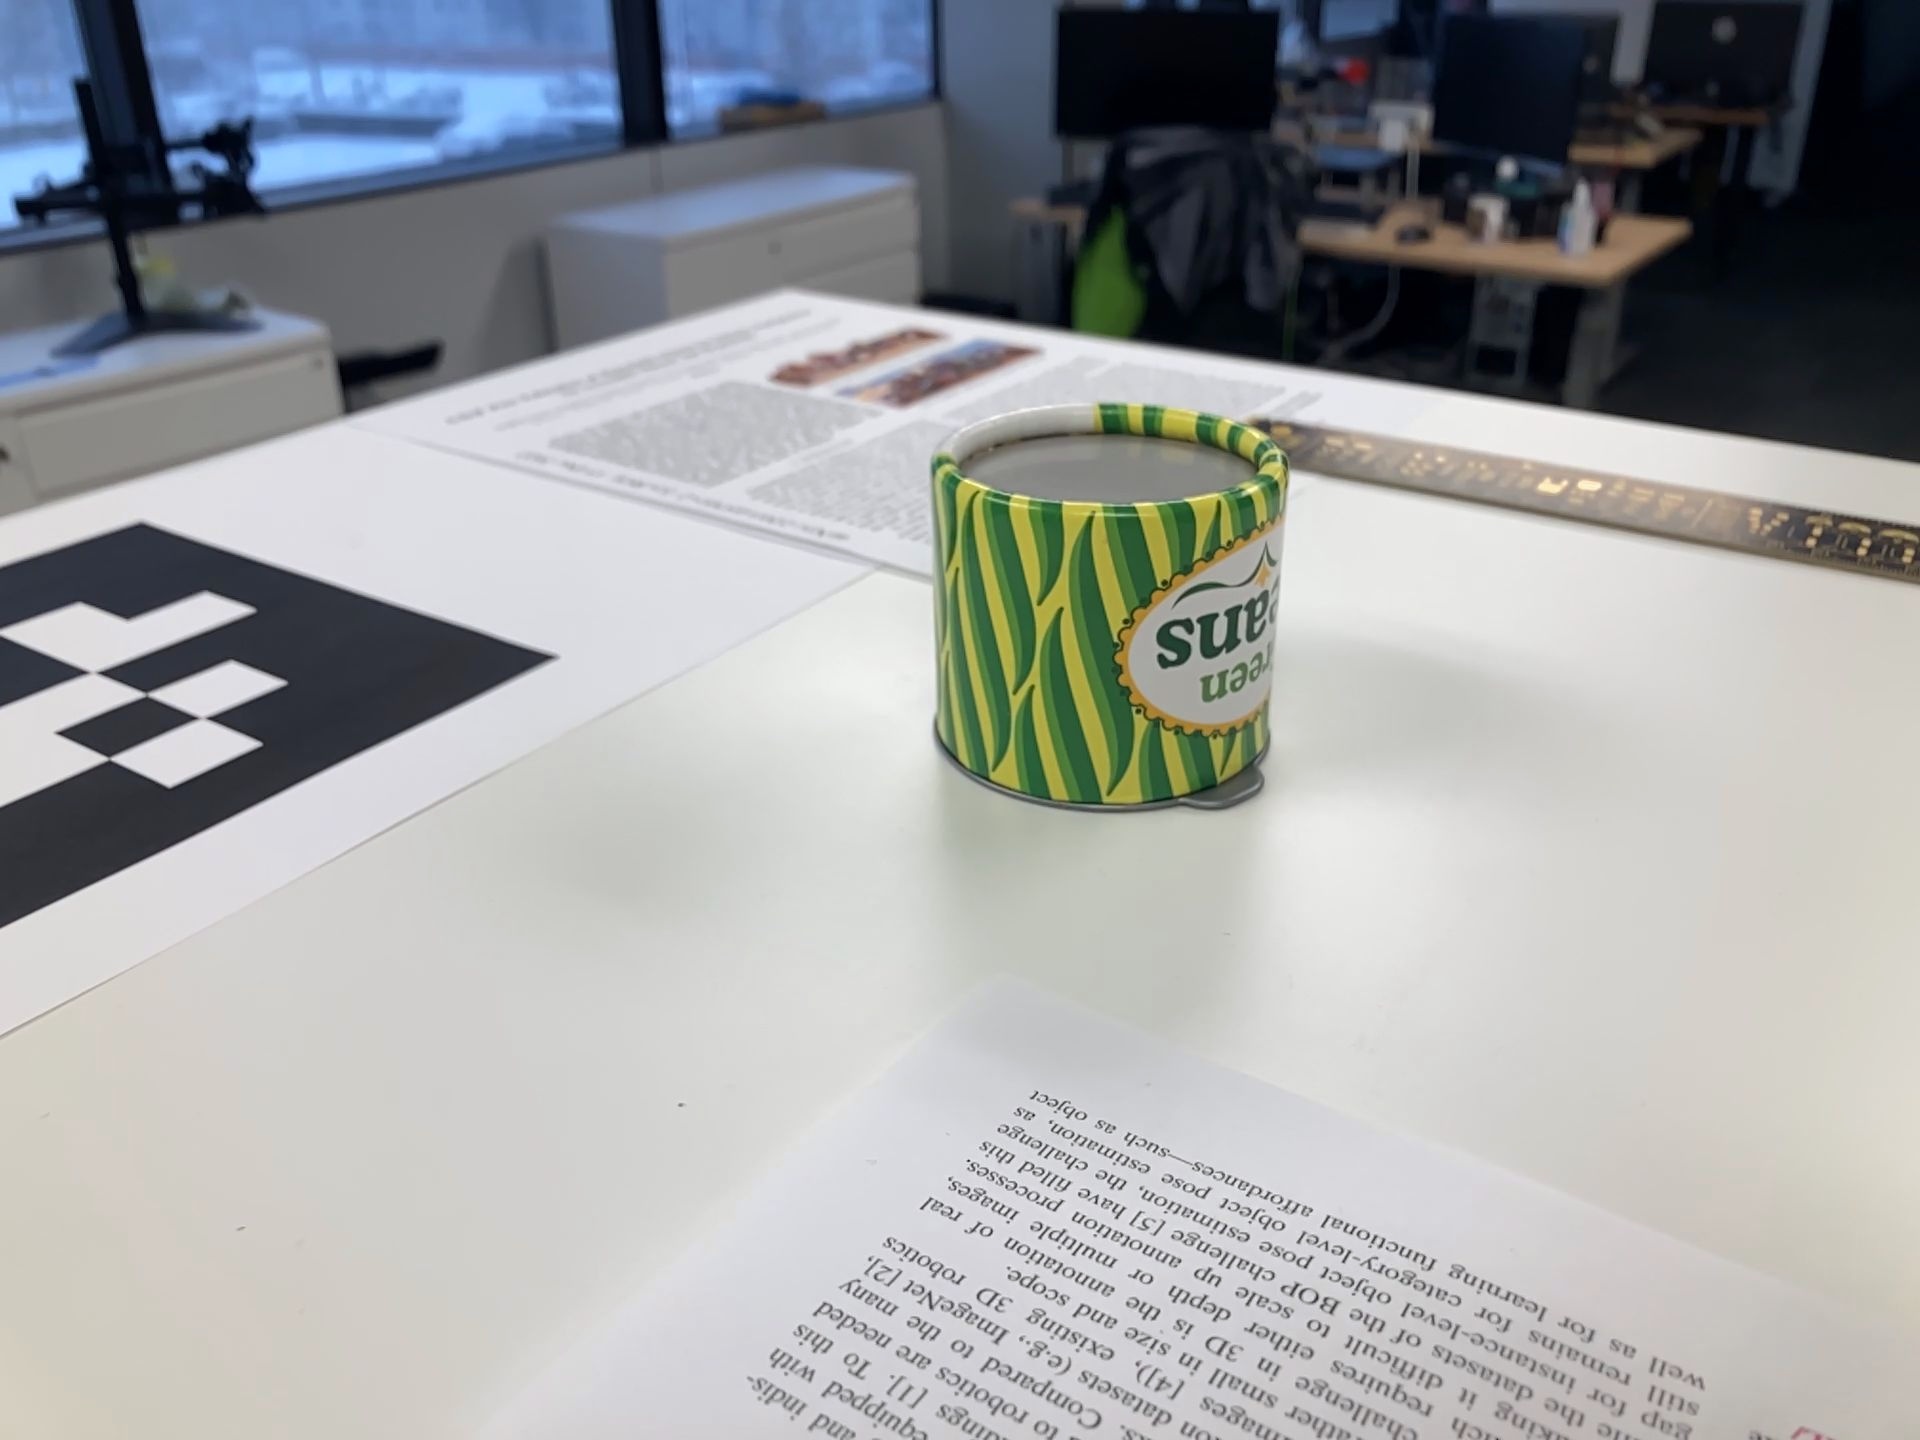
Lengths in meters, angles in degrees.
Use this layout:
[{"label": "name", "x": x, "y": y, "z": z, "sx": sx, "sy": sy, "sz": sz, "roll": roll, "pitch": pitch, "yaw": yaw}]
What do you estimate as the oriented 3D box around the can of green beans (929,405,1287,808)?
[{"label": "can of green beans", "x": 0.028, "y": -0.024, "z": 0.307, "sx": 0.071, "sy": 0.058, "sz": 0.071, "roll": -1, "pitch": 27, "yaw": 0}]
